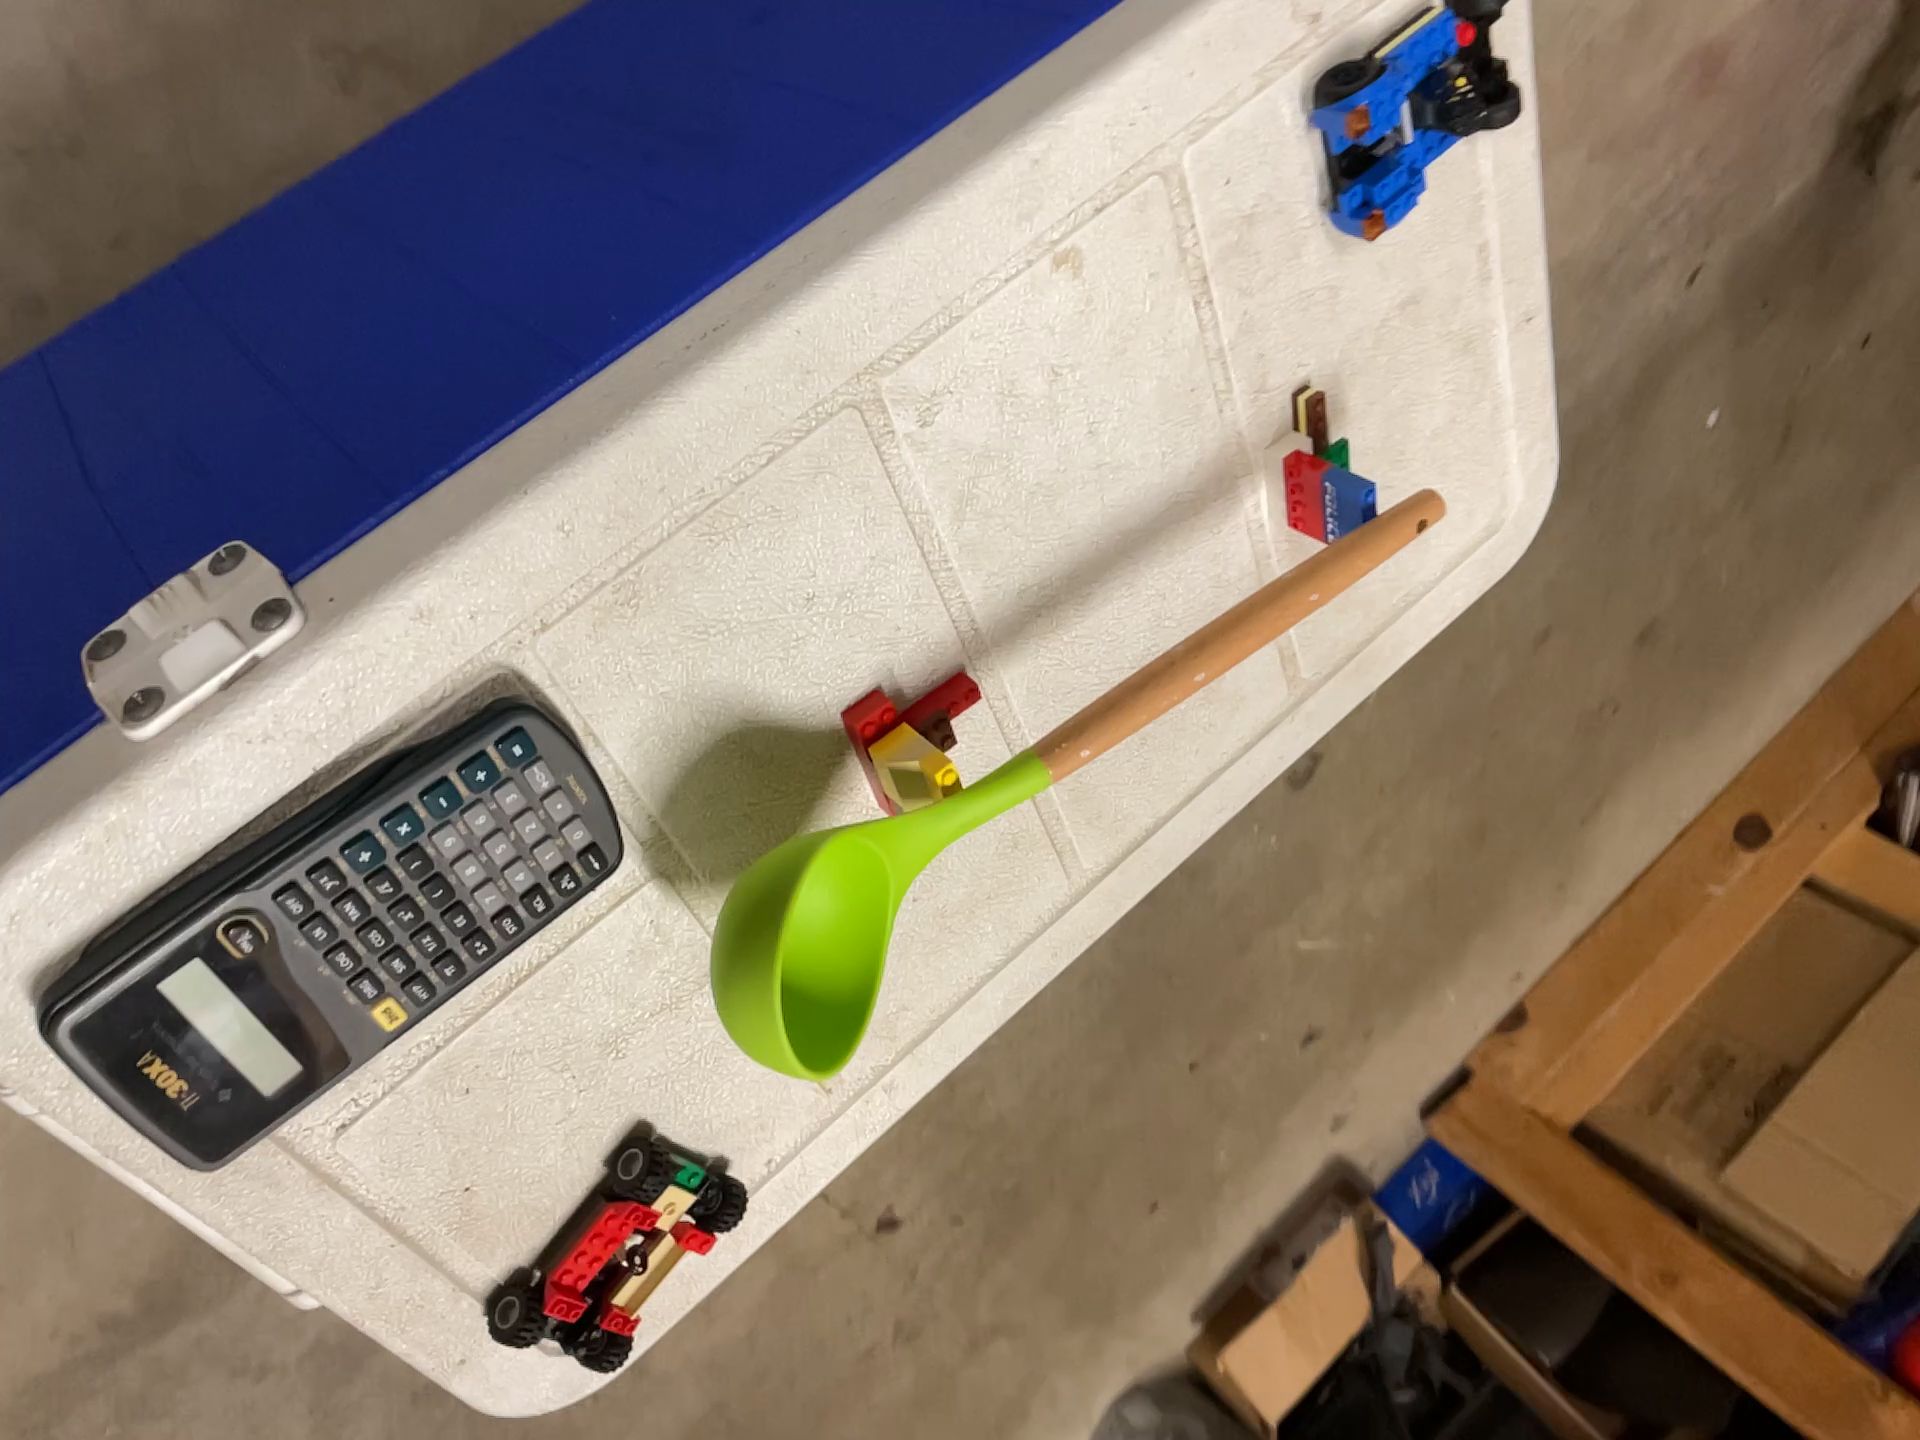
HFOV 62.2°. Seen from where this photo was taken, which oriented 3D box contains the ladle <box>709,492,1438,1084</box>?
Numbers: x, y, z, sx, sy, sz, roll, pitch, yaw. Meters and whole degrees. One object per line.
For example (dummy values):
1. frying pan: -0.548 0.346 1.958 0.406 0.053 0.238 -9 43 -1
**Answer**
1. ladle: 0.053 0.008 0.537 0.320 0.062 0.078 -33 133 -18
